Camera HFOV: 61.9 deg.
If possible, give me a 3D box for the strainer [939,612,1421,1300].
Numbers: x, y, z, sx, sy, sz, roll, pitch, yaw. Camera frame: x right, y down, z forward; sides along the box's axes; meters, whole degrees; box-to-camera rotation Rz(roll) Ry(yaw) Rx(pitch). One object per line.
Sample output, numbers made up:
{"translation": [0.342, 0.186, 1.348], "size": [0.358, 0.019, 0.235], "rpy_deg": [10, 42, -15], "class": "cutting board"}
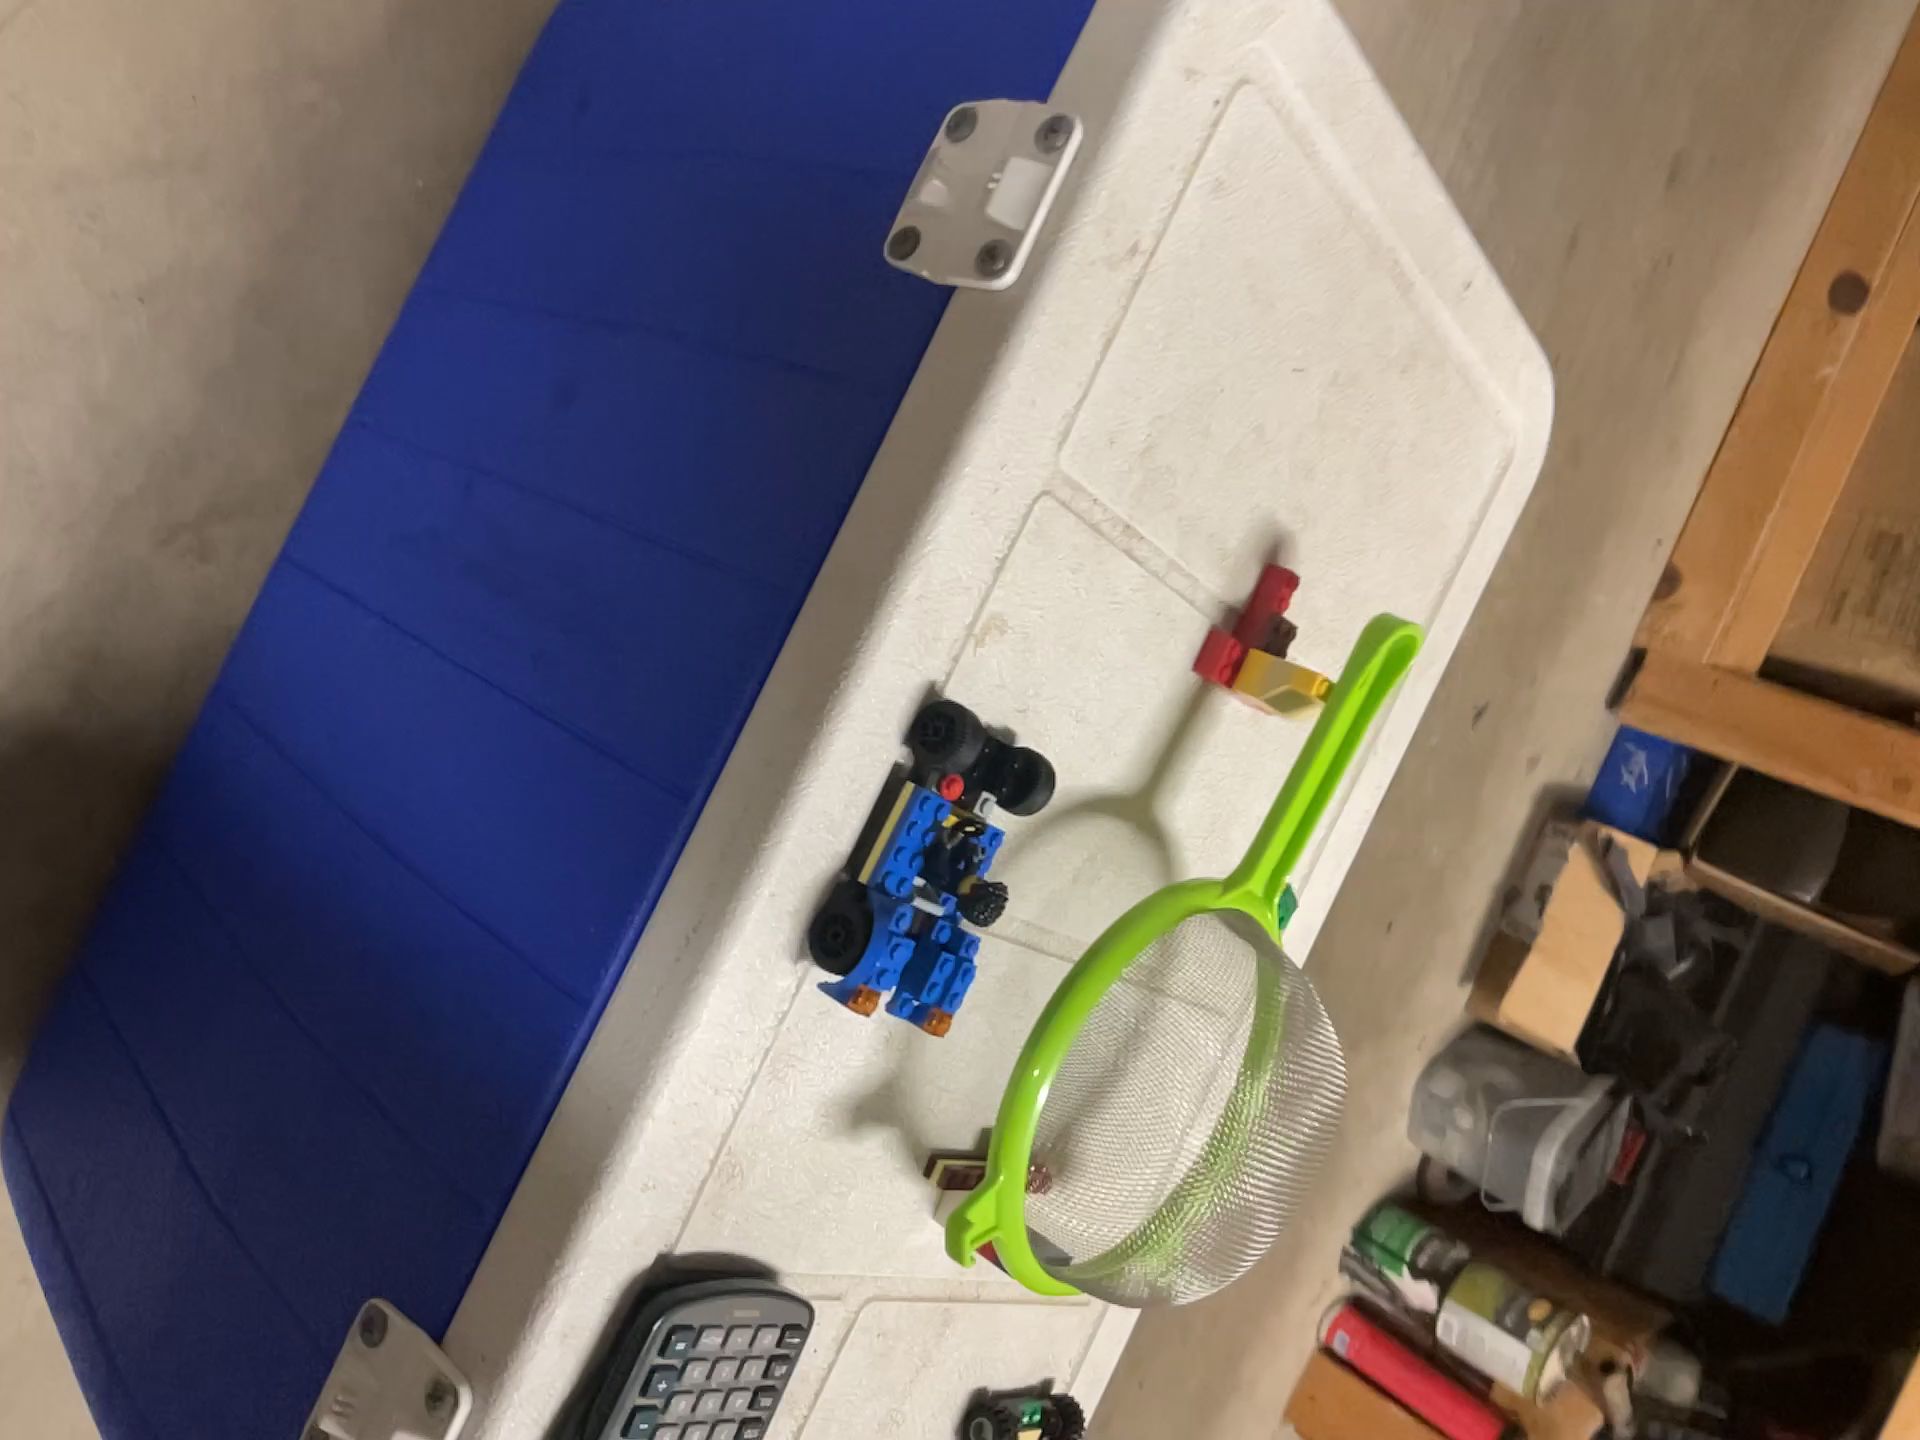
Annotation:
{"translation": [0.106, 0.086, 0.526], "size": [0.151, 0.069, 0.256], "rpy_deg": [32, 86, -49], "class": "strainer"}
